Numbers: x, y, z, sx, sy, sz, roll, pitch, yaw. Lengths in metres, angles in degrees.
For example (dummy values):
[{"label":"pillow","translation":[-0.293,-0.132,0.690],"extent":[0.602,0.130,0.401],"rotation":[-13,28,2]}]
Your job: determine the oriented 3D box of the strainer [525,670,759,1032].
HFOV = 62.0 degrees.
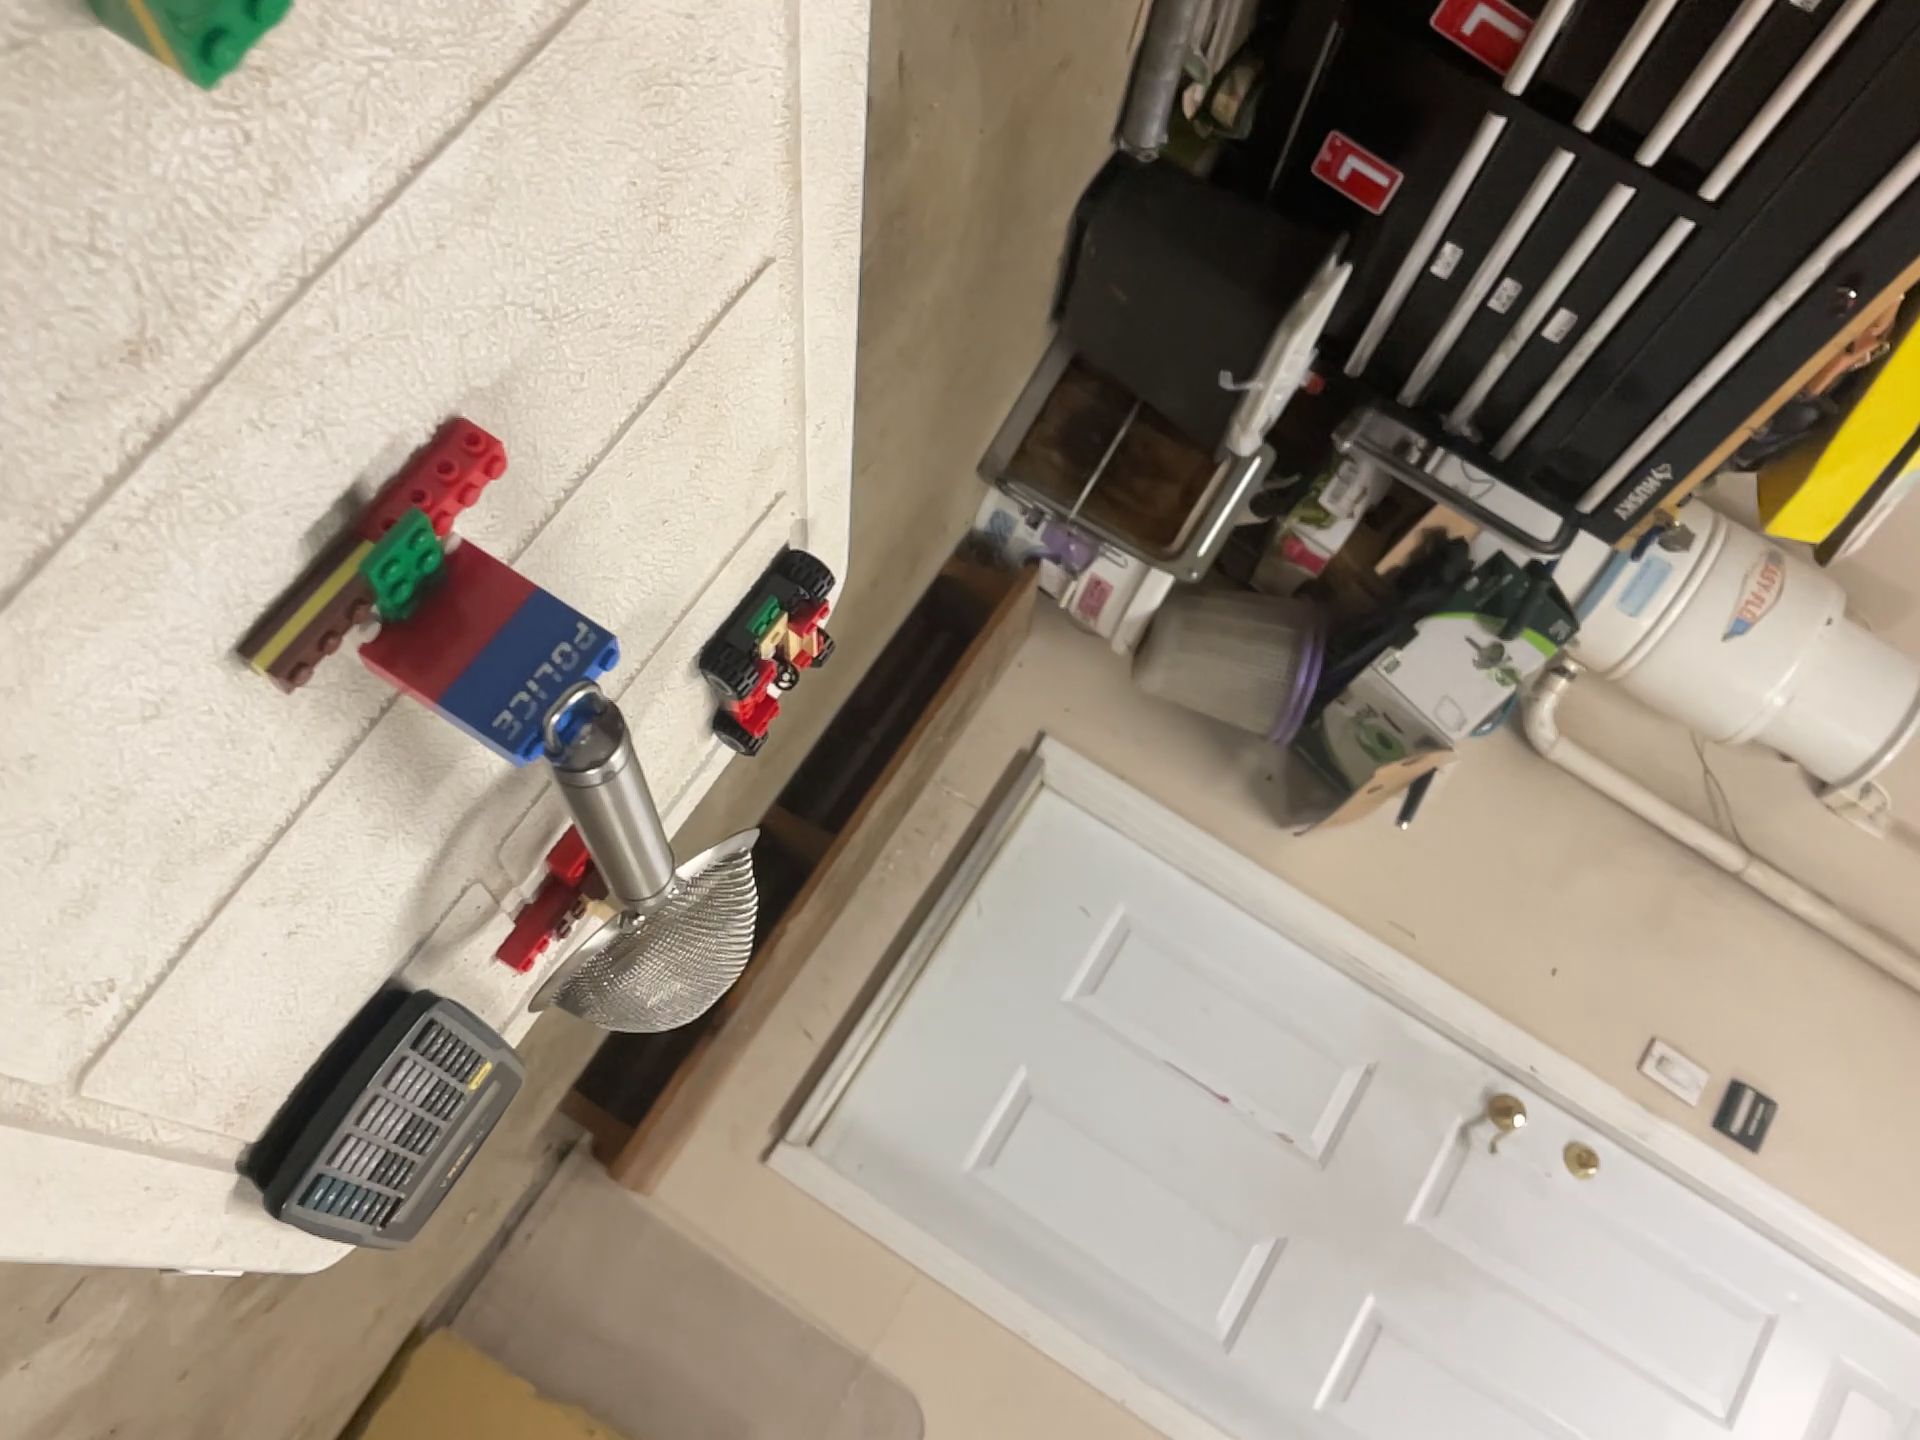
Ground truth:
[{"label":"strainer","translation":[-0.085,0.043,0.423],"extent":[0.087,0.050,0.258],"rotation":[-39,166,-17]}]
